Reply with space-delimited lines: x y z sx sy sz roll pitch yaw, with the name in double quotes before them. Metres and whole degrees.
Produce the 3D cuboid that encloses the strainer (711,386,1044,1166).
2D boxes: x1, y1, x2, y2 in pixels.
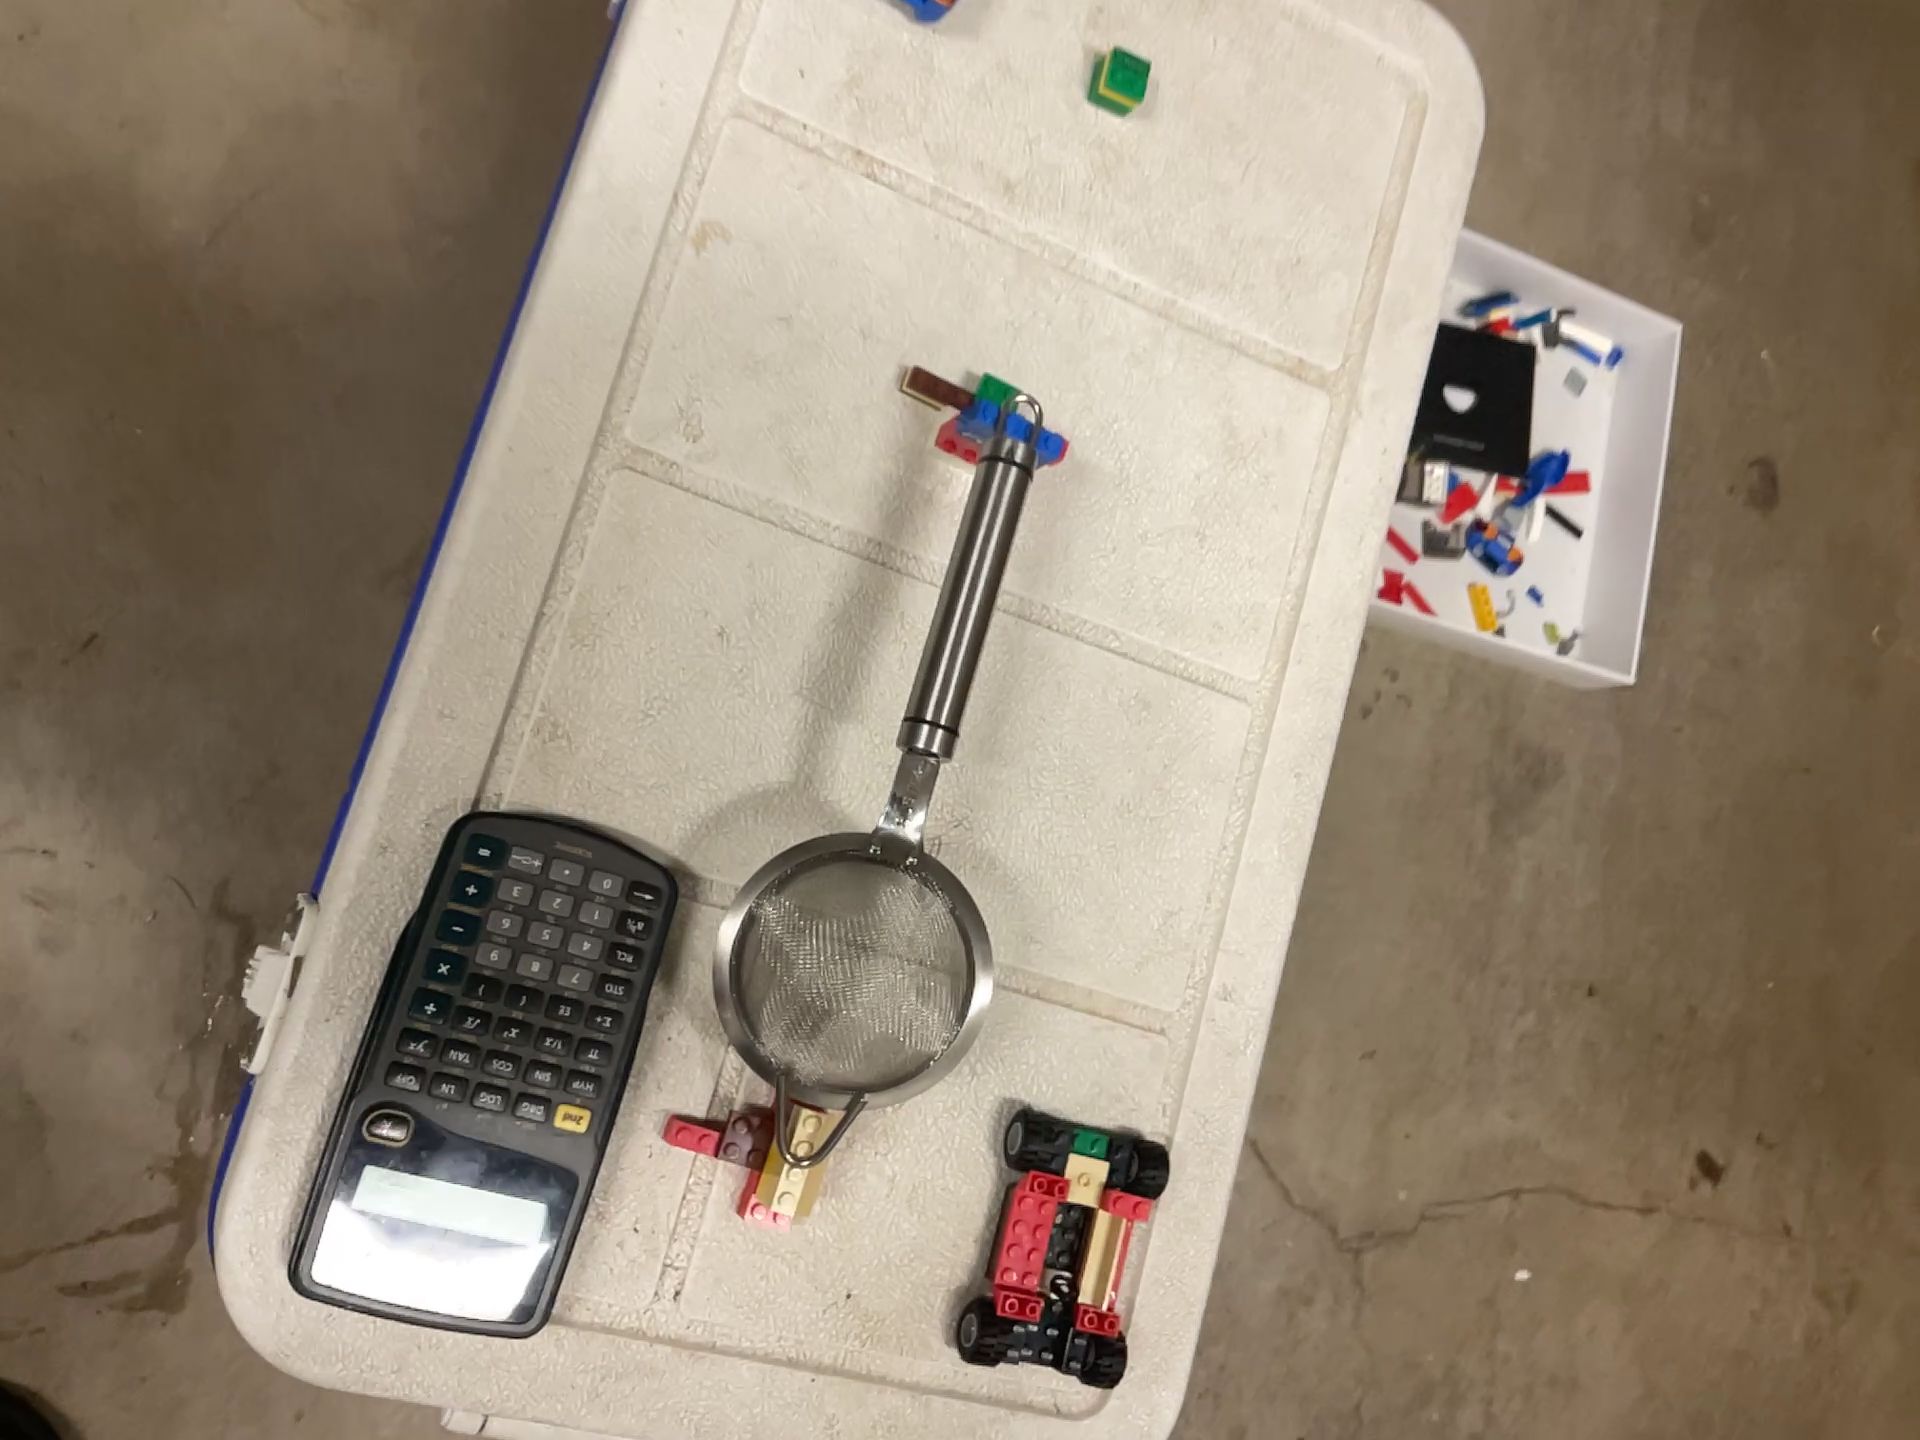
"strainer" -0.014 0.011 0.497 0.087 0.050 0.258 17 78 -4
